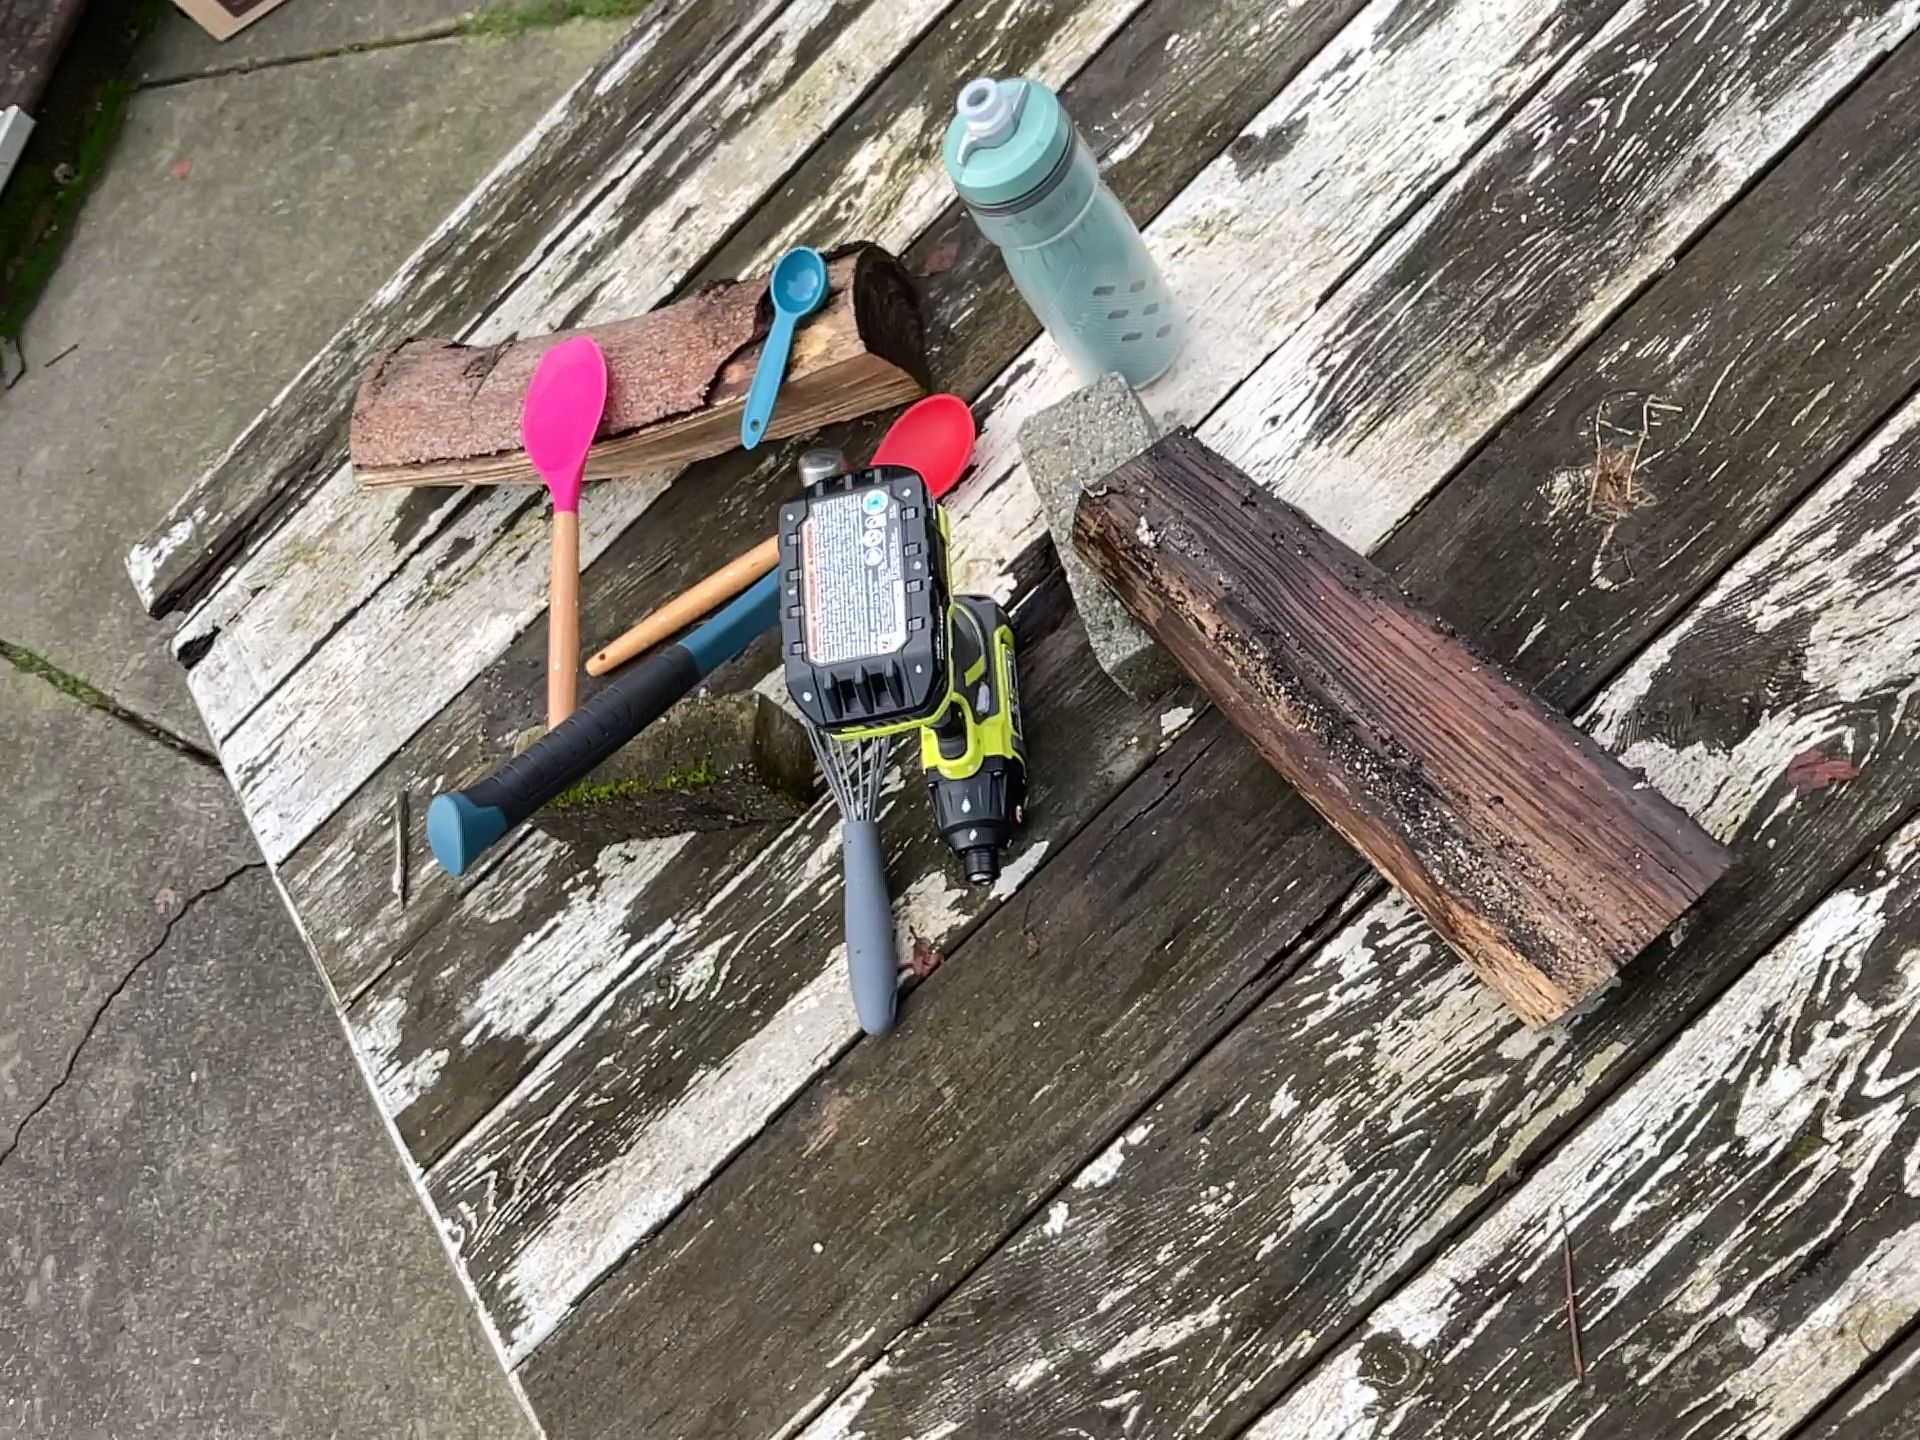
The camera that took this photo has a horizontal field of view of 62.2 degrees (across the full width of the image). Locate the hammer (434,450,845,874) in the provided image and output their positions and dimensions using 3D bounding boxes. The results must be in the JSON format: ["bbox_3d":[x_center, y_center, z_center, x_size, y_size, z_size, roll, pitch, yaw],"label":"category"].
[{"bbox_3d":[-0.169,-0.026,0.928,0.033,0.128,0.331,20,47,35],"label":"hammer"}]

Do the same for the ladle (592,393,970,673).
[{"bbox_3d":[-0.121,-0.115,1.062,0.315,0.031,0.069,-31,60,15],"label":"ladle"}]

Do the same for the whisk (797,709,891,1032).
[{"bbox_3d":[-0.064,0.064,0.934,0.055,0.055,0.239,-20,64,28],"label":"whisk"}]

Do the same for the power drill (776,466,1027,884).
[{"bbox_3d":[-0.017,-0.019,0.848,0.080,0.223,0.171,-11,65,14],"label":"power drill"}]

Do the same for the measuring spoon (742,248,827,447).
[{"bbox_3d":[-0.112,-0.235,1.017,0.042,0.021,0.128,26,104,33],"label":"measuring spoon"}]

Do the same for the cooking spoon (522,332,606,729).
[{"bbox_3d":[-0.256,-0.112,1.033,0.069,0.017,0.319,-13,67,21],"label":"cooking spoon"}]
